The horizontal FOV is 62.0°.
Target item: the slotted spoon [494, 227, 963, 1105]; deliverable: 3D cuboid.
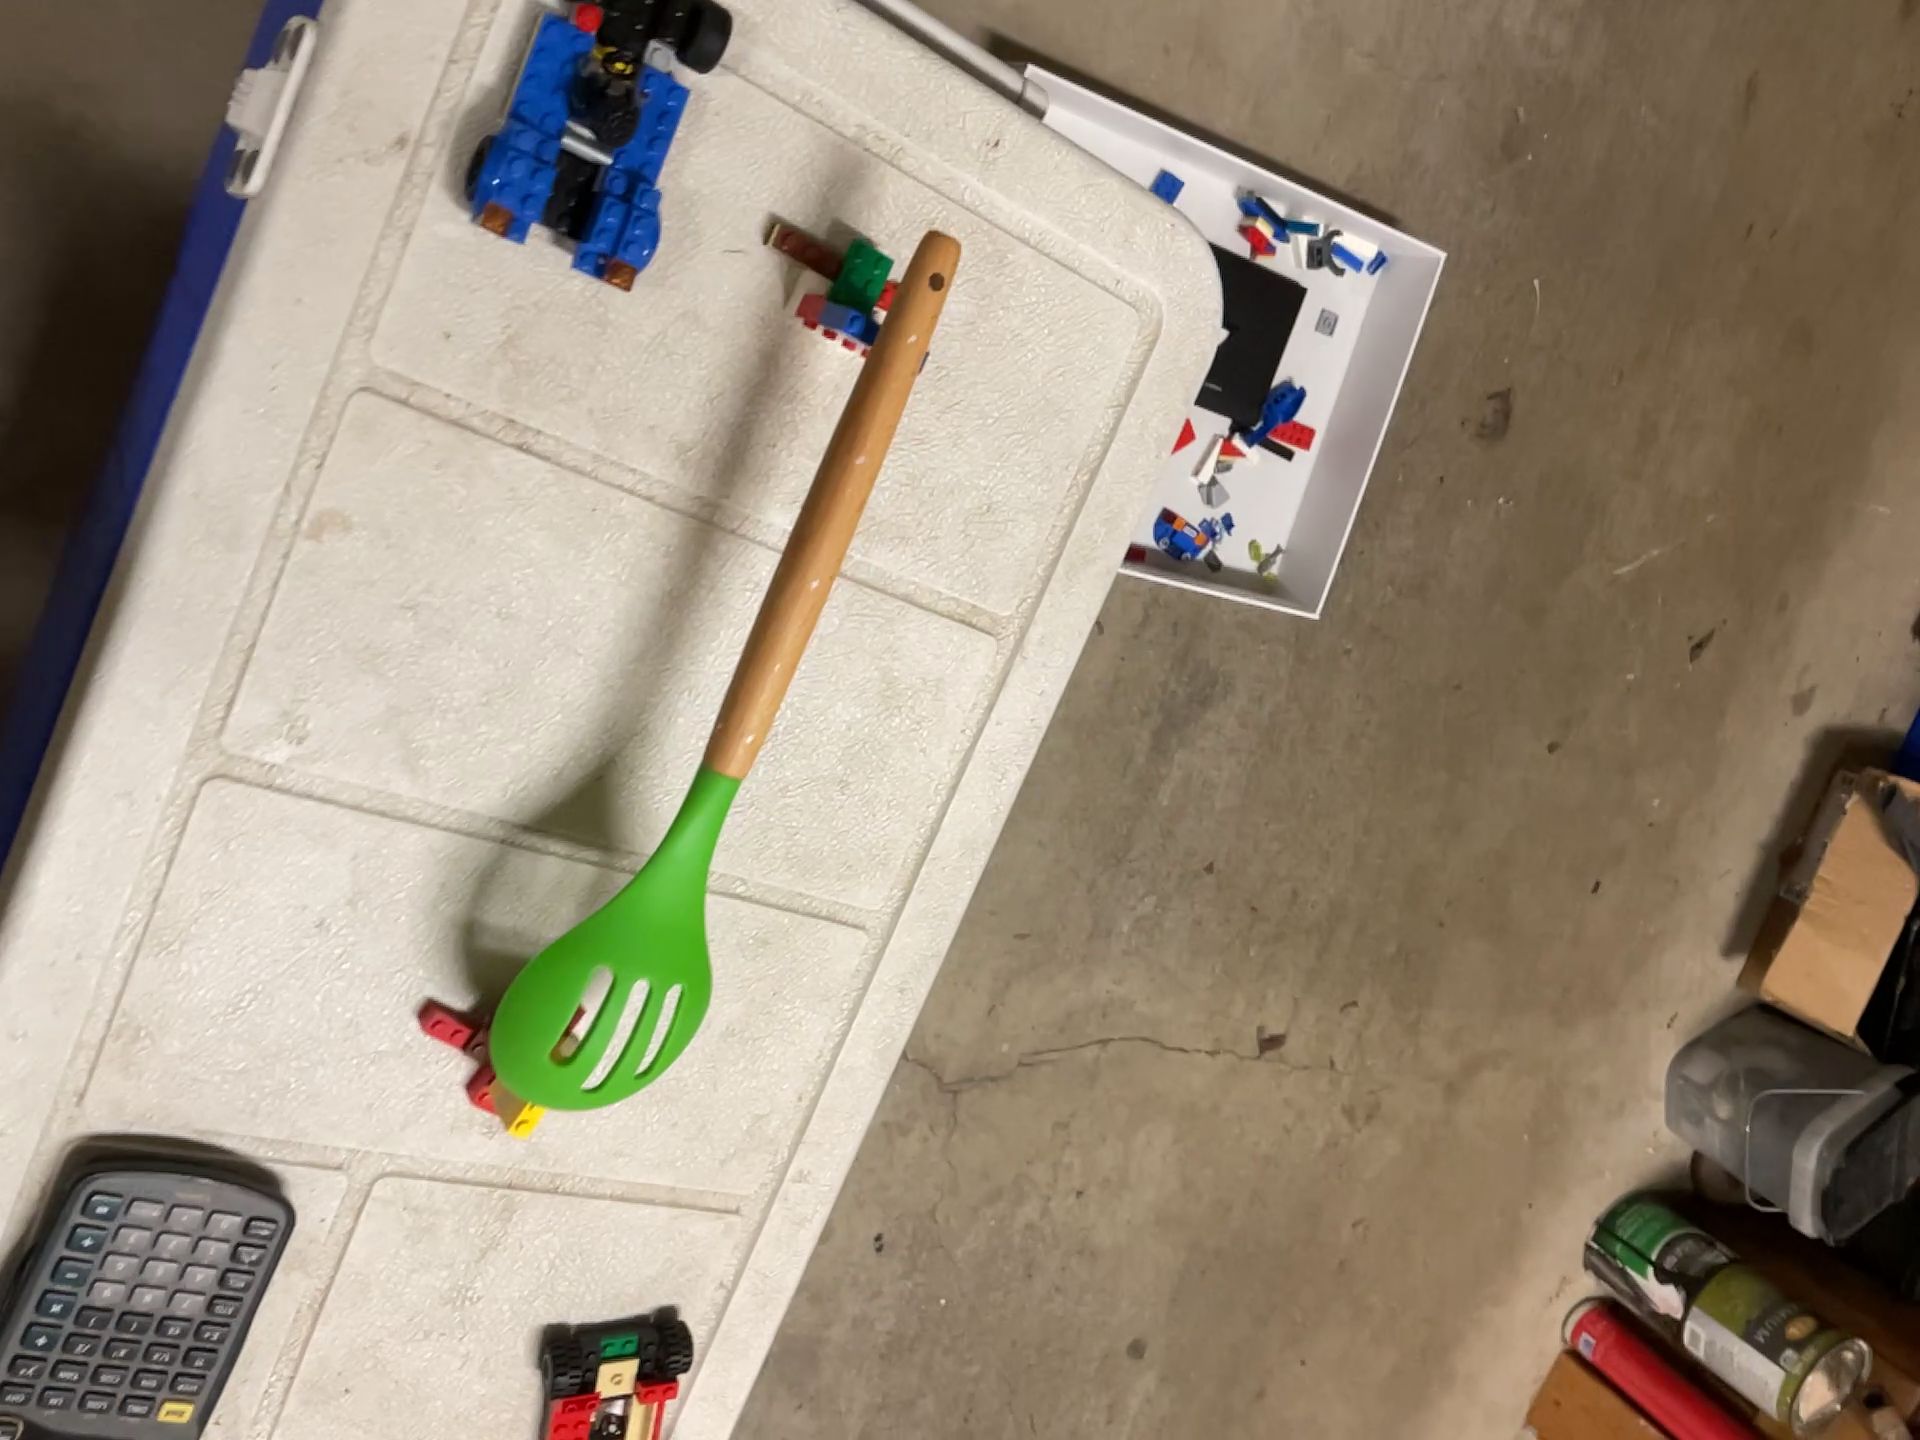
[{"bbox_3d":[-0.068,-0.009,0.513,0.070,0.031,0.314,19,99,-33],"label":"slotted spoon"}]
